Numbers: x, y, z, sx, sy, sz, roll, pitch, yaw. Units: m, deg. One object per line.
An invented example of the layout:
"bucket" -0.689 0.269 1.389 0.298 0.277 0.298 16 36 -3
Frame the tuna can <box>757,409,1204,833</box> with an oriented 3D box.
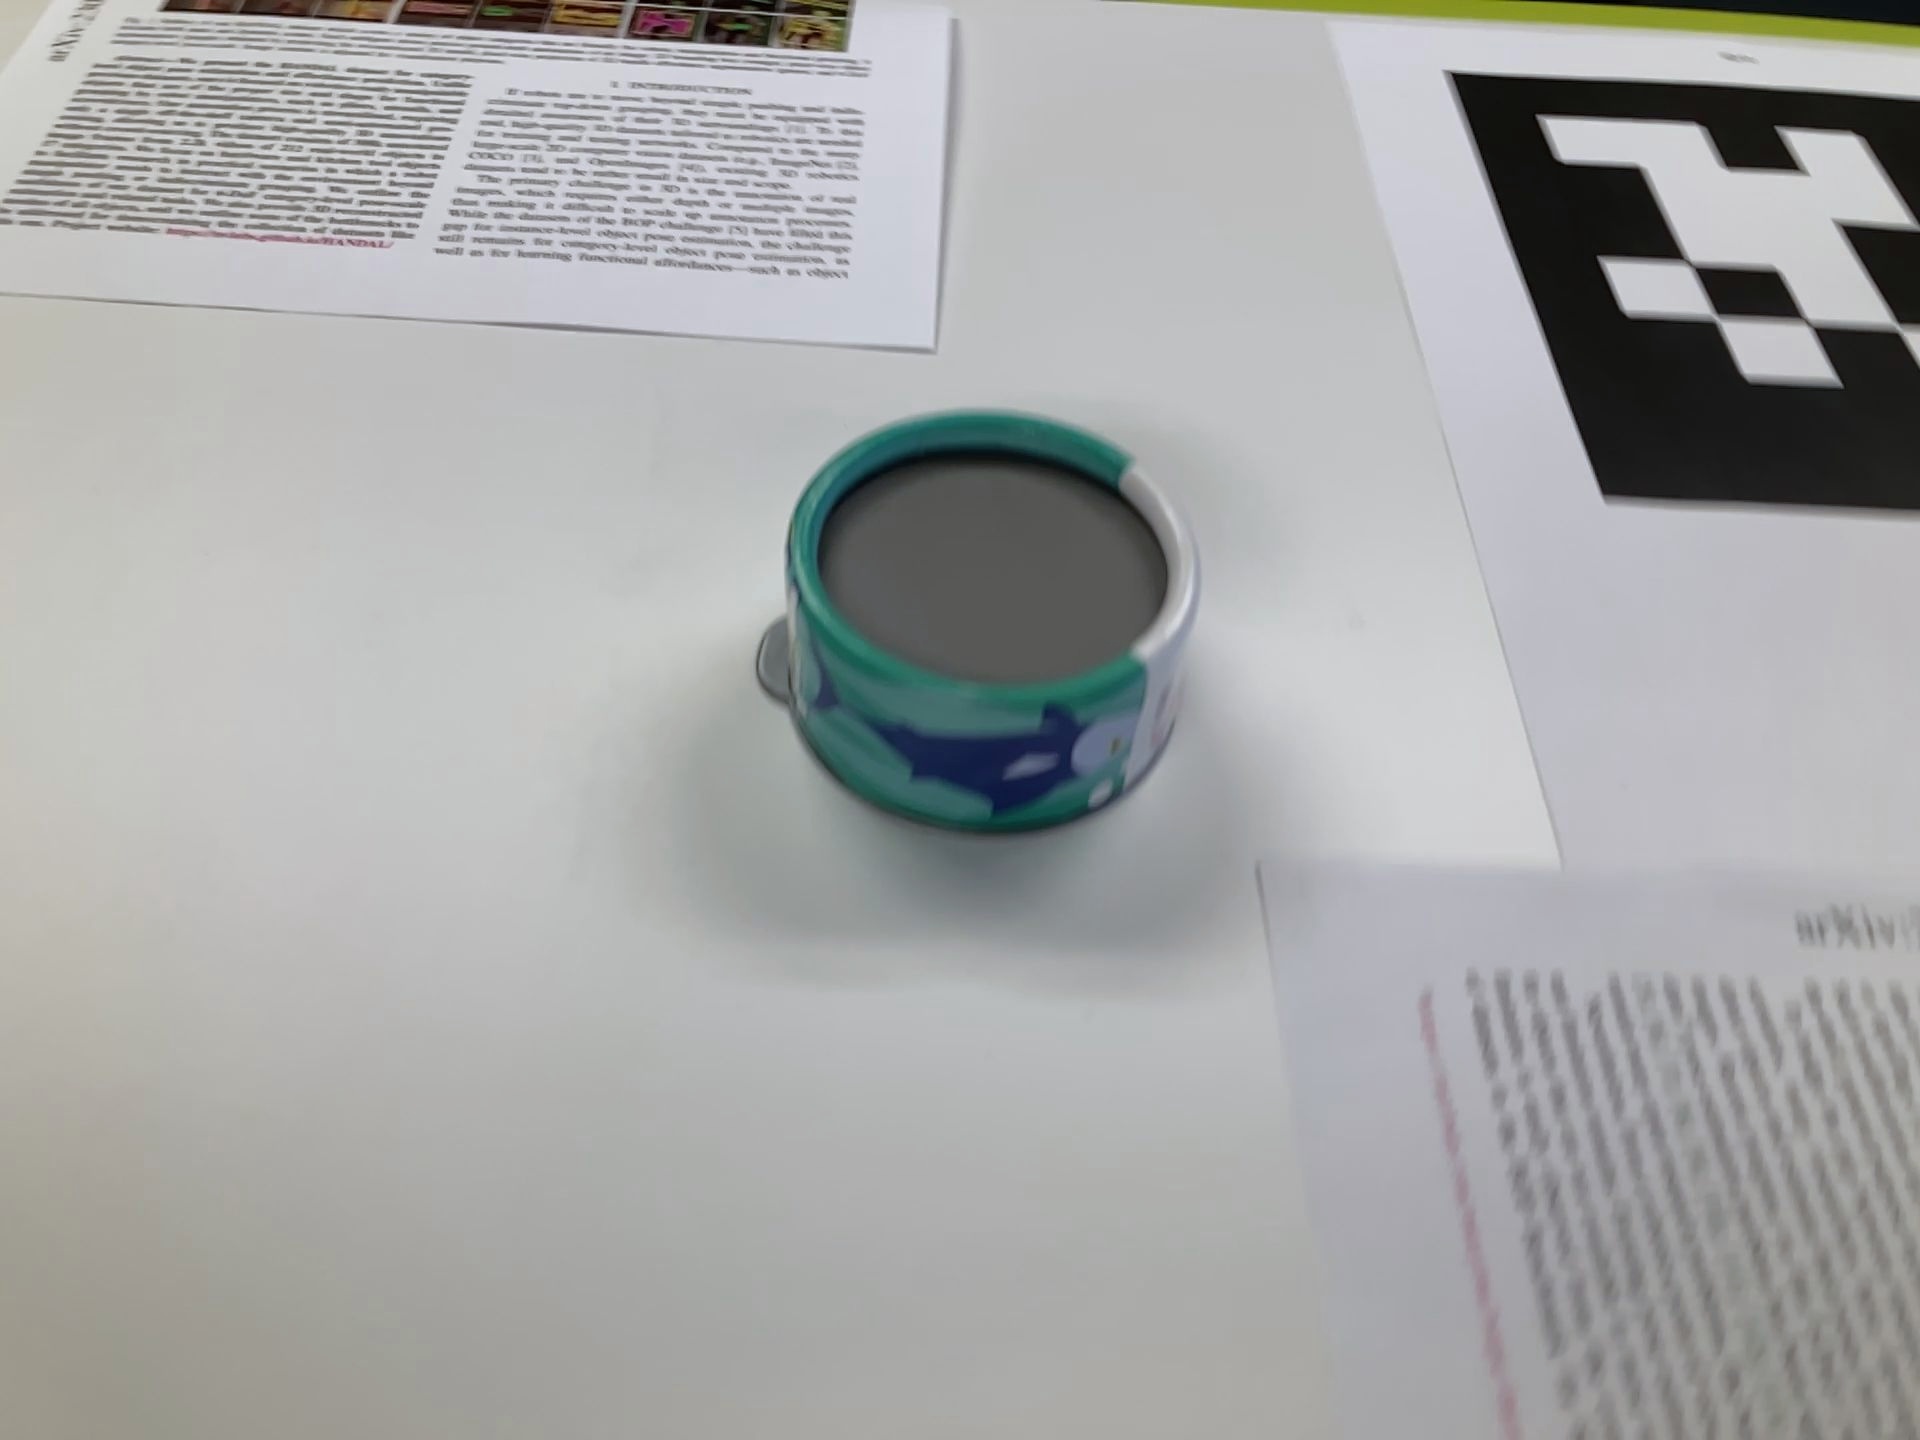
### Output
"tuna can" 0.002 -0.018 0.255 0.071 0.033 0.071 2 49 -2
